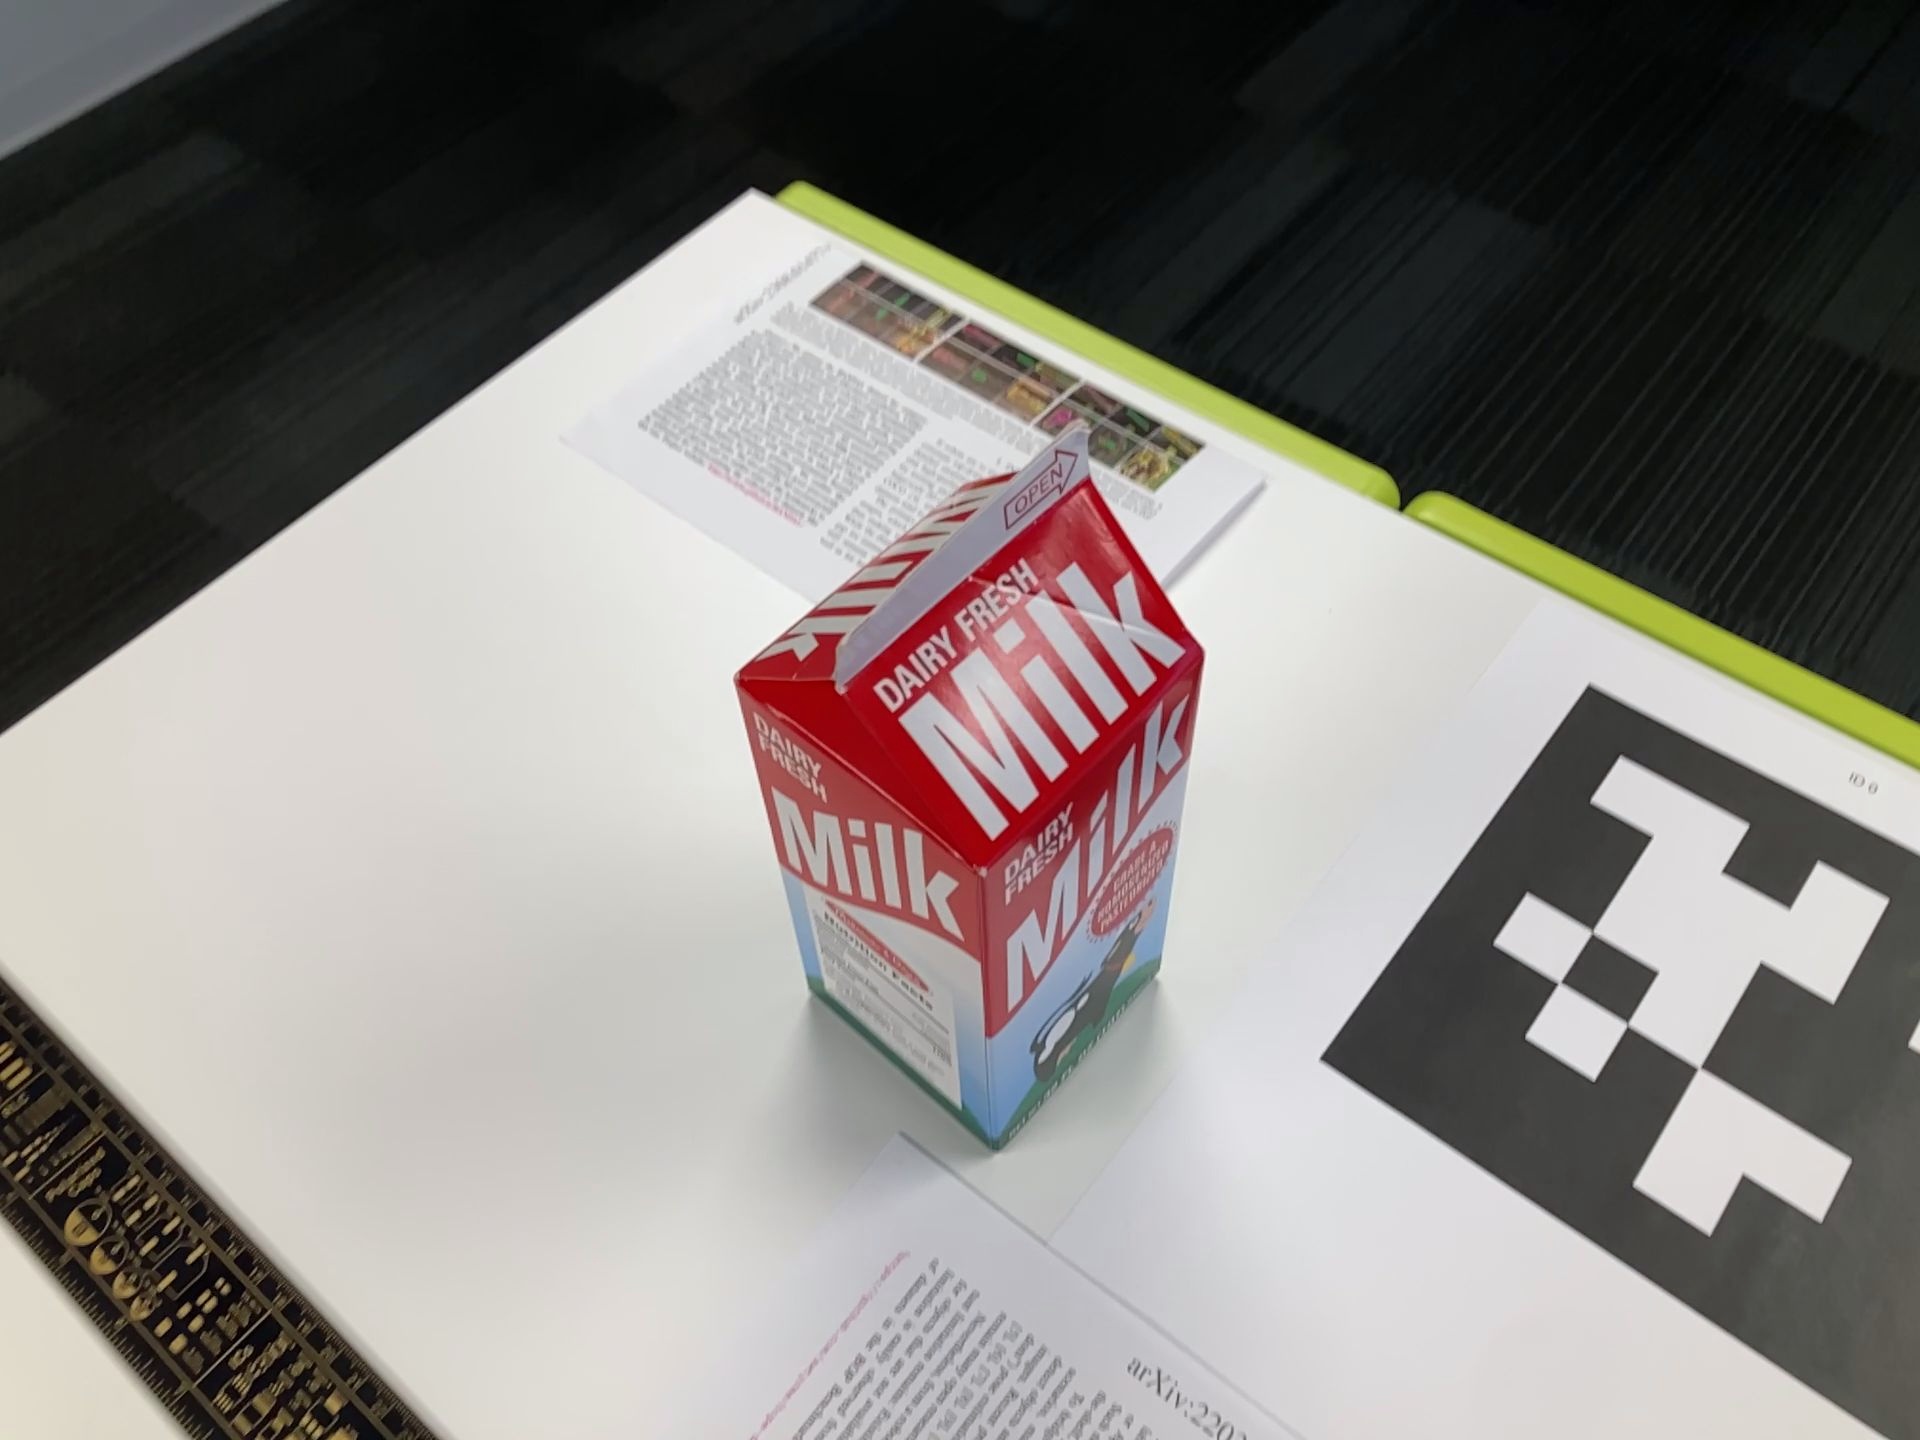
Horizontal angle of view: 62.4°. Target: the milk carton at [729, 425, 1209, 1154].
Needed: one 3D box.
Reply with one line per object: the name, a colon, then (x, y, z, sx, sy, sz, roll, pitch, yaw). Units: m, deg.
milk carton: (0.004, 0.019, 0.366, 0.073, 0.190, 0.072, 36, 64, 25)
